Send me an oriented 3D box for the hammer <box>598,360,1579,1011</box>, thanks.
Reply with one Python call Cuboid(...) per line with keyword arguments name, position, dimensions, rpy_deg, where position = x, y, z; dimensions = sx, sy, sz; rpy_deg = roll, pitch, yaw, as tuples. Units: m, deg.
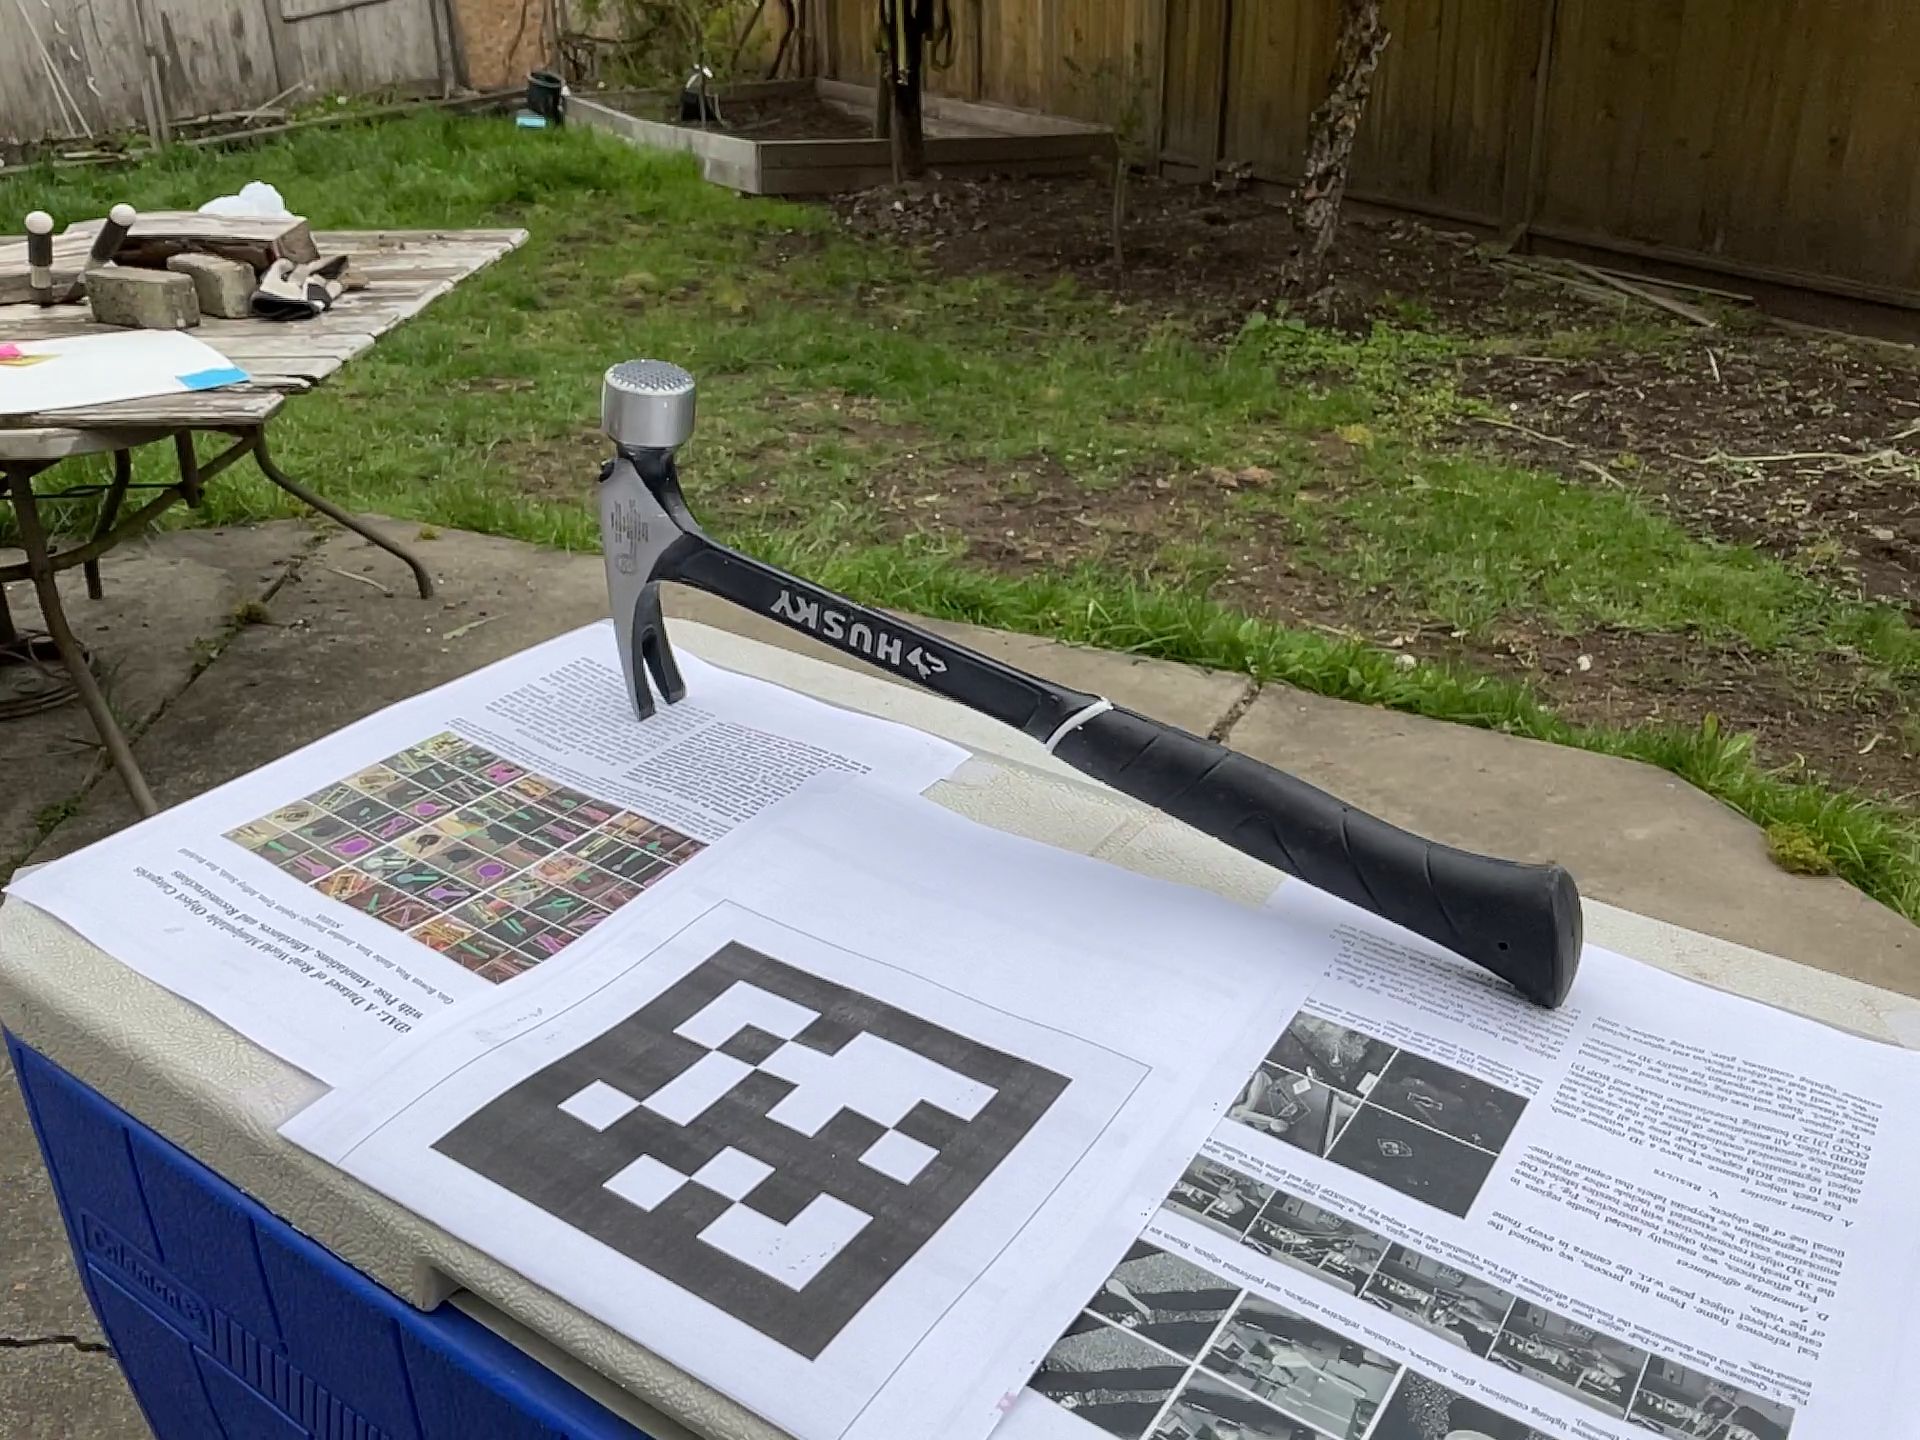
Cuboid(name="hammer", position=(0.024, 0.000, 0.587), dimensions=(0.409, 0.149, 0.036), rpy_deg=(25, 34, 23))
